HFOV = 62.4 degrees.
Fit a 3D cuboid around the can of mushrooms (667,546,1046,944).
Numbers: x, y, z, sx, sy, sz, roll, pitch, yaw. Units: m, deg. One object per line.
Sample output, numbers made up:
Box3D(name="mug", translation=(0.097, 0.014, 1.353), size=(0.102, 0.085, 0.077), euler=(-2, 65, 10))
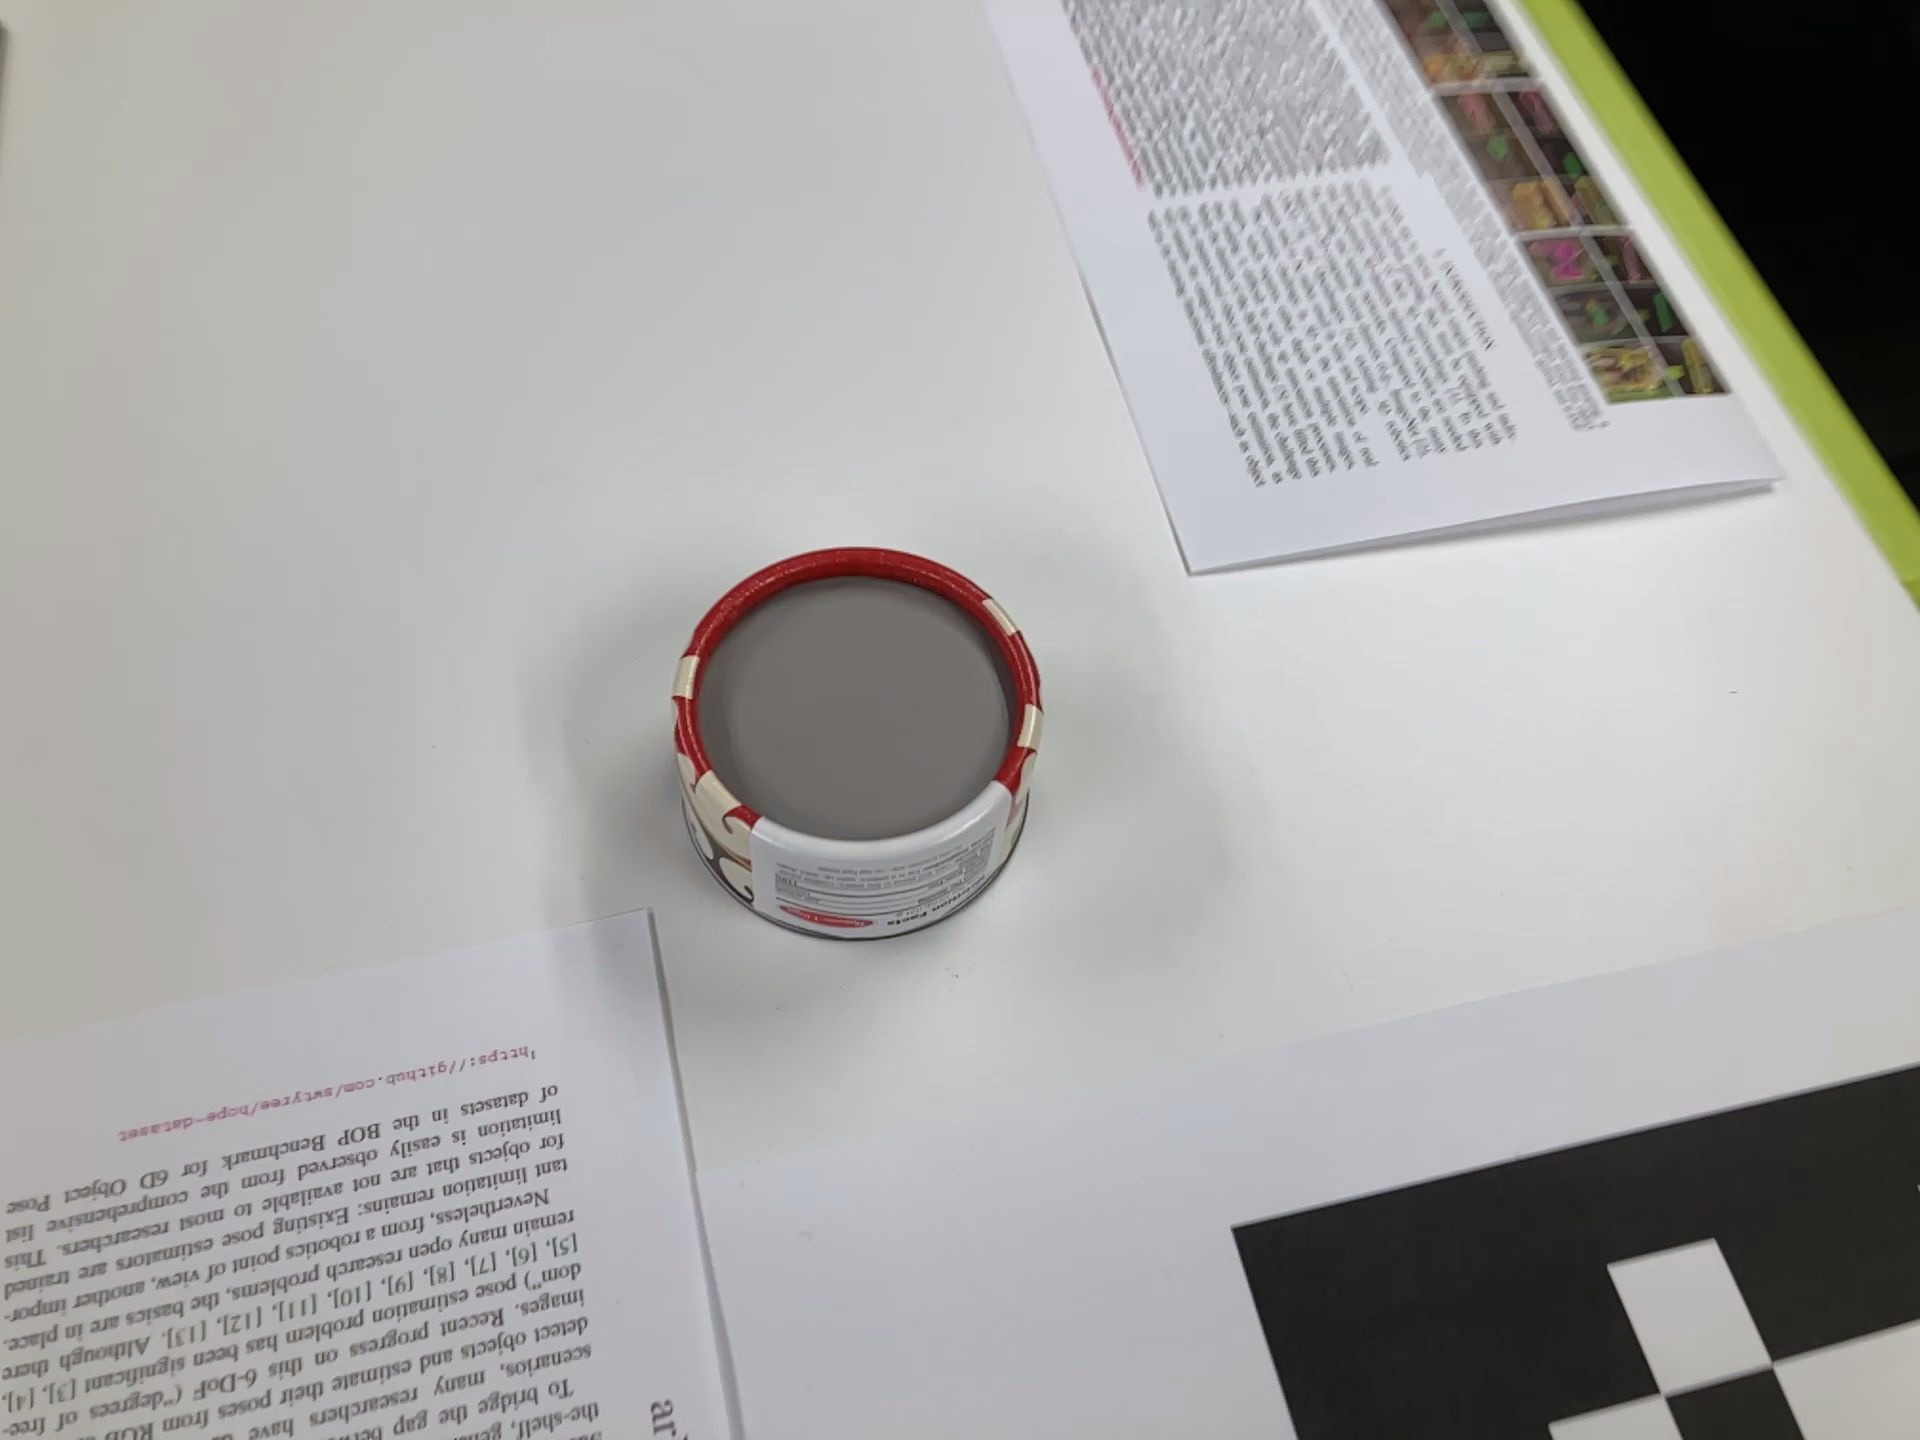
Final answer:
Box3D(name="can of mushrooms", translation=(-0.019, 0.002, 0.287), size=(0.071, 0.033, 0.071), euler=(2, 58, -2))
